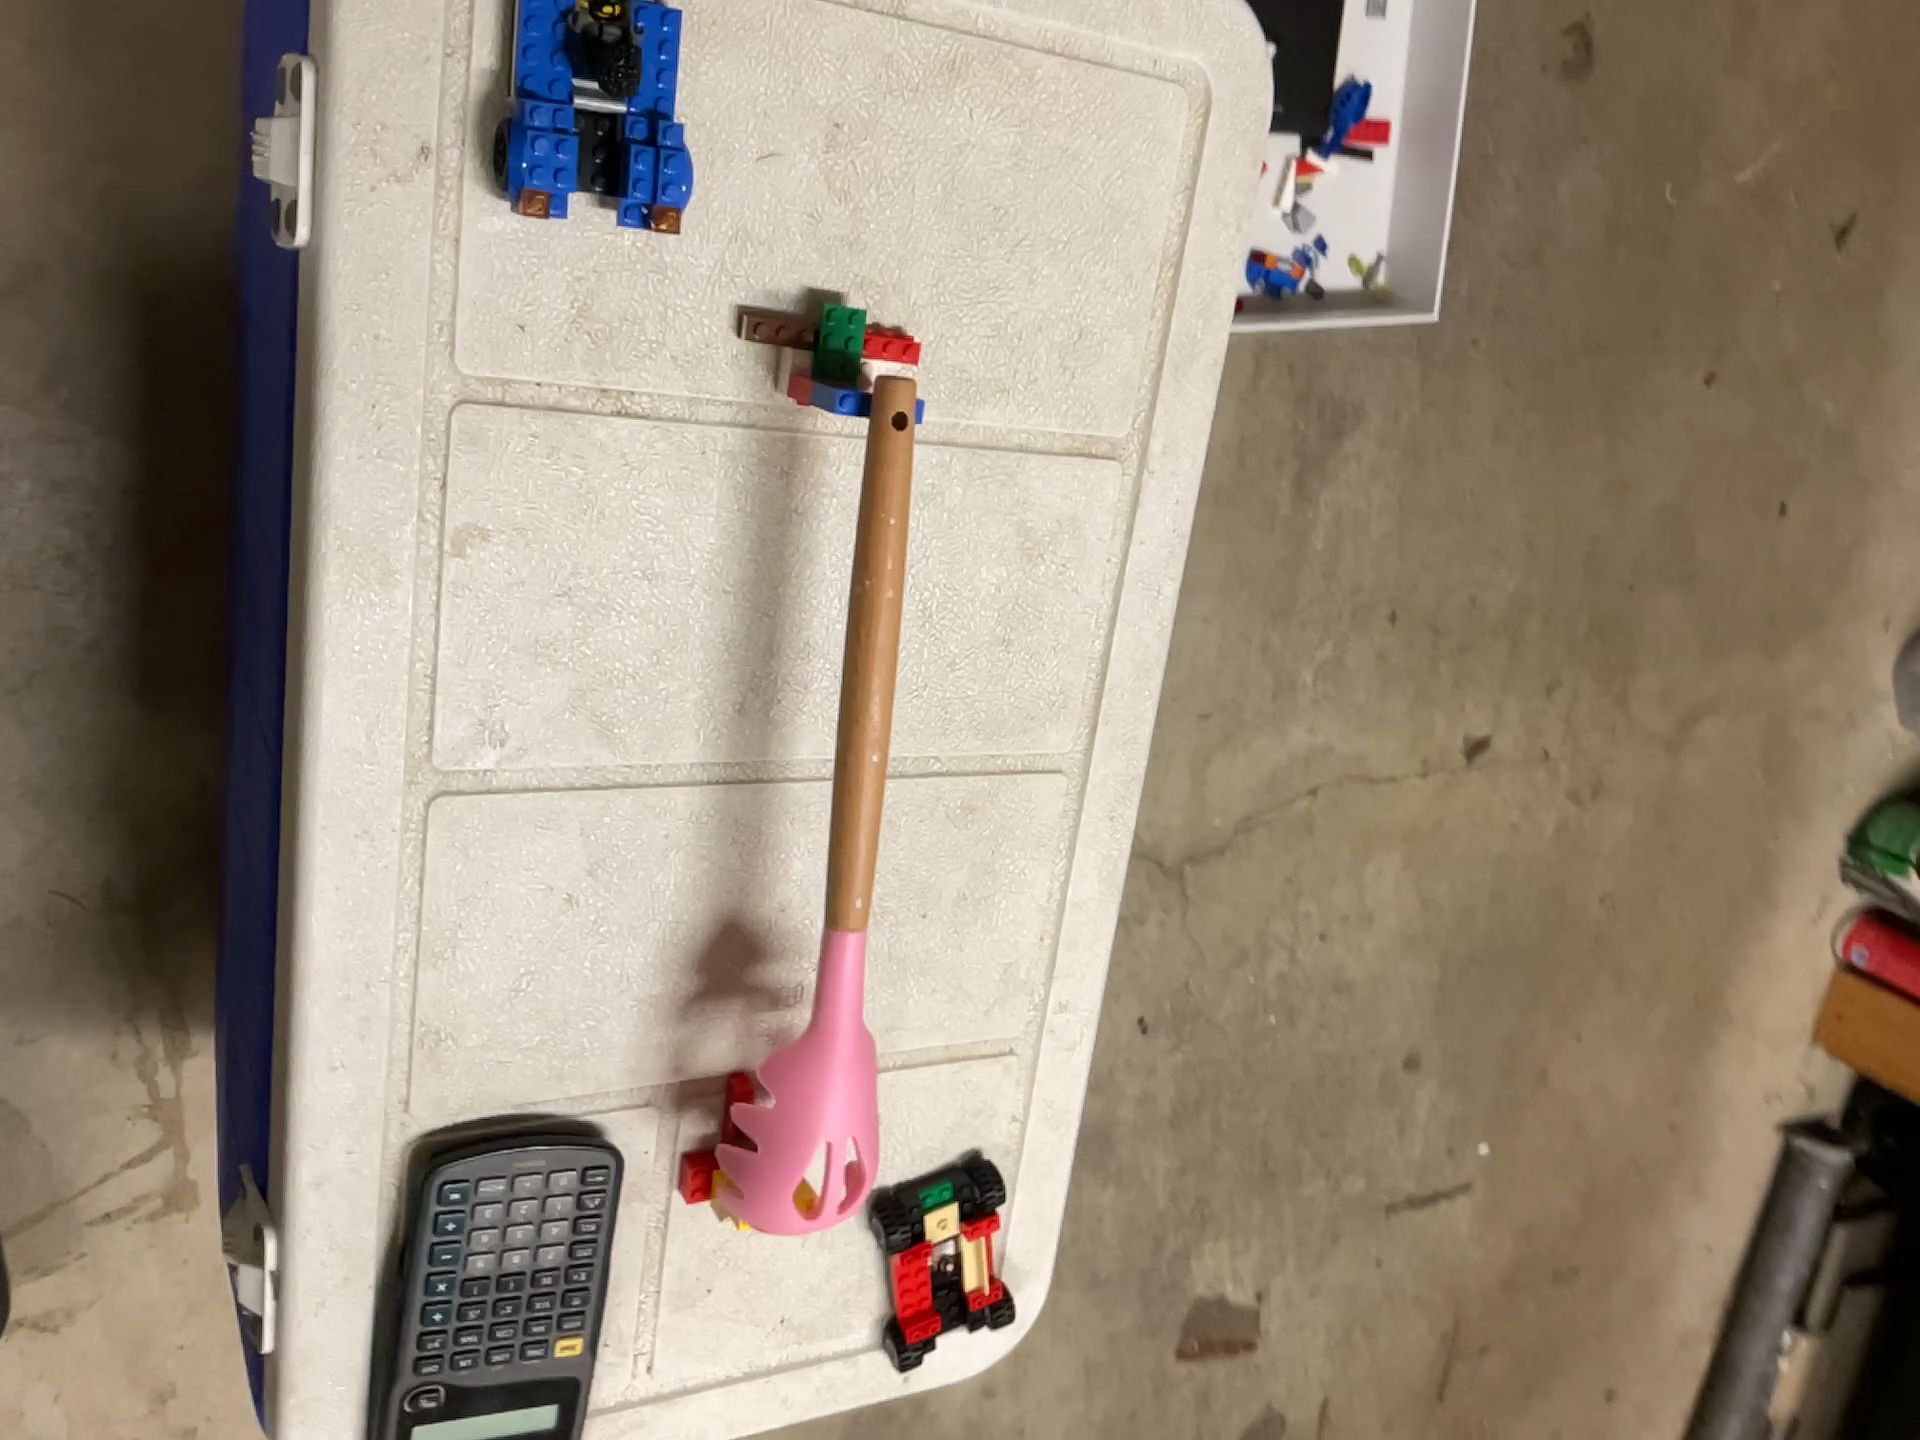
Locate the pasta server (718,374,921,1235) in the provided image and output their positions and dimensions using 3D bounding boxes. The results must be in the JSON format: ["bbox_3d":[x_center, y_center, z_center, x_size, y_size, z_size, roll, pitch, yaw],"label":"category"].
[{"bbox_3d":[-0.040,0.042,0.546,0.060,0.040,0.316,-1,106,-29],"label":"pasta server"}]
